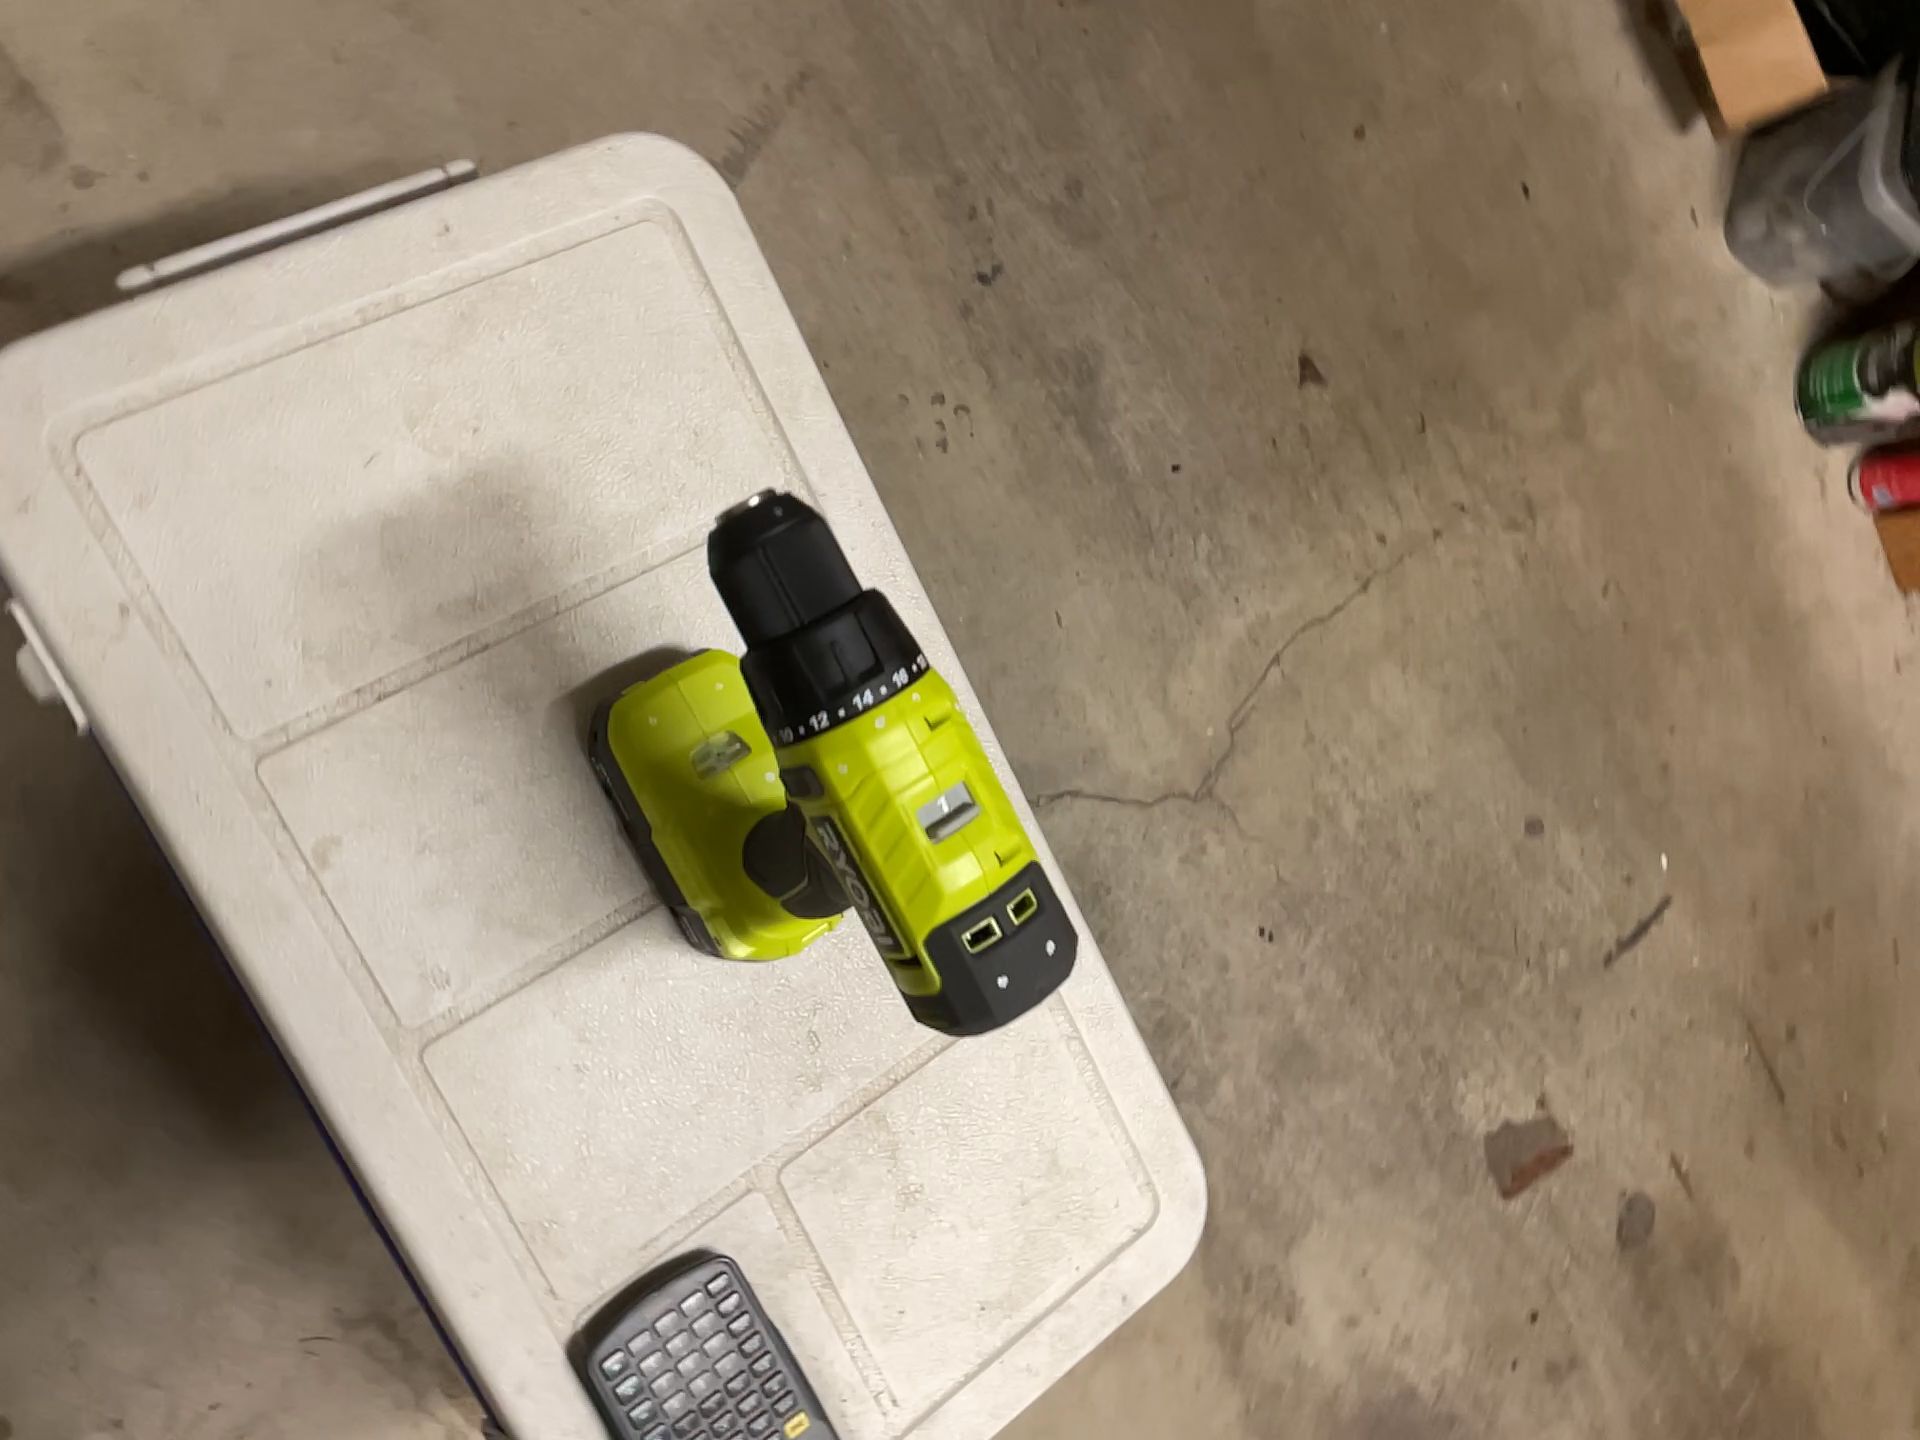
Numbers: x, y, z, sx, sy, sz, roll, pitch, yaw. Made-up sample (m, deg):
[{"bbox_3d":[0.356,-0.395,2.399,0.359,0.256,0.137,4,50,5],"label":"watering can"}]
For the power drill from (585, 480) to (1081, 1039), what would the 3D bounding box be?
[{"bbox_3d":[-0.064,0.018,0.597,0.080,0.228,0.190,-32,100,-26],"label":"power drill"}]
